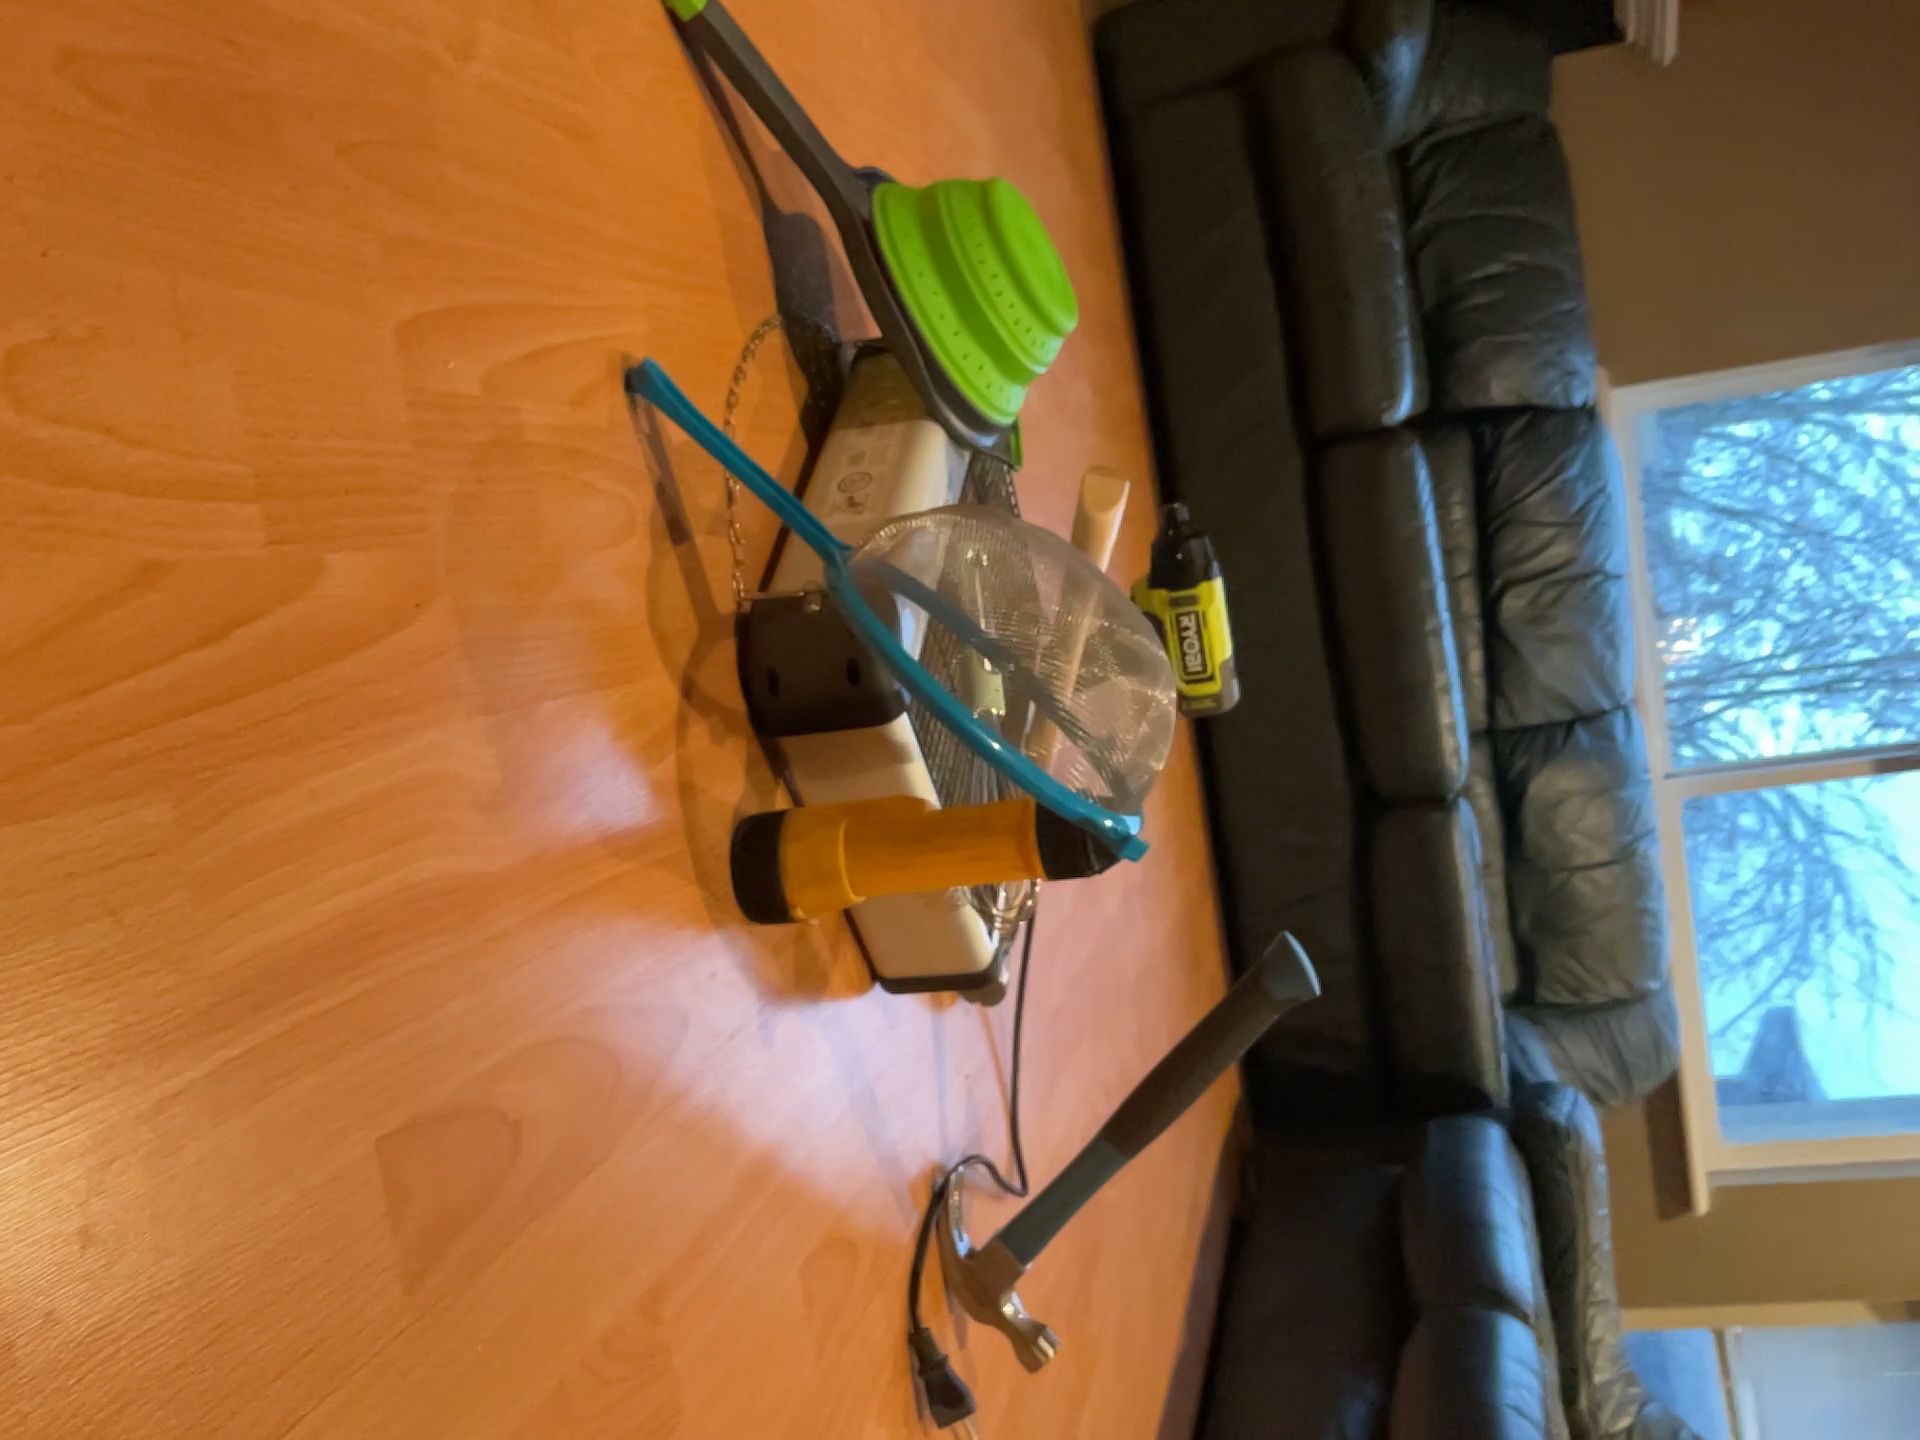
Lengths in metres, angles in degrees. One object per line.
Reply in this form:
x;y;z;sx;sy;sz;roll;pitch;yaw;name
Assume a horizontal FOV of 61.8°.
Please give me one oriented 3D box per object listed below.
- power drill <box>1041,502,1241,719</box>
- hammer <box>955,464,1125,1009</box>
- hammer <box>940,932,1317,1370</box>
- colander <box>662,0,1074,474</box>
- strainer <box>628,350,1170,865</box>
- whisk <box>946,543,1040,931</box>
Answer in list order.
0.107;-0.079;1.319;0.080;0.223;0.171;-41;122;-73;power drill
0.061;0.009;1.170;0.146;0.038;0.410;-66;169;-62;hammer
0.113;0.271;1.056;0.128;0.331;0.033;44;10;11;hammer
-0.033;-0.329;1.003;0.397;0.094;0.205;46;29;-39;colander
-0.010;-0.086;0.800;0.340;0.095;0.211;43;11;-7;strainer
0.016;0.006;0.972;0.058;0.059;0.246;11;66;-43;whisk
